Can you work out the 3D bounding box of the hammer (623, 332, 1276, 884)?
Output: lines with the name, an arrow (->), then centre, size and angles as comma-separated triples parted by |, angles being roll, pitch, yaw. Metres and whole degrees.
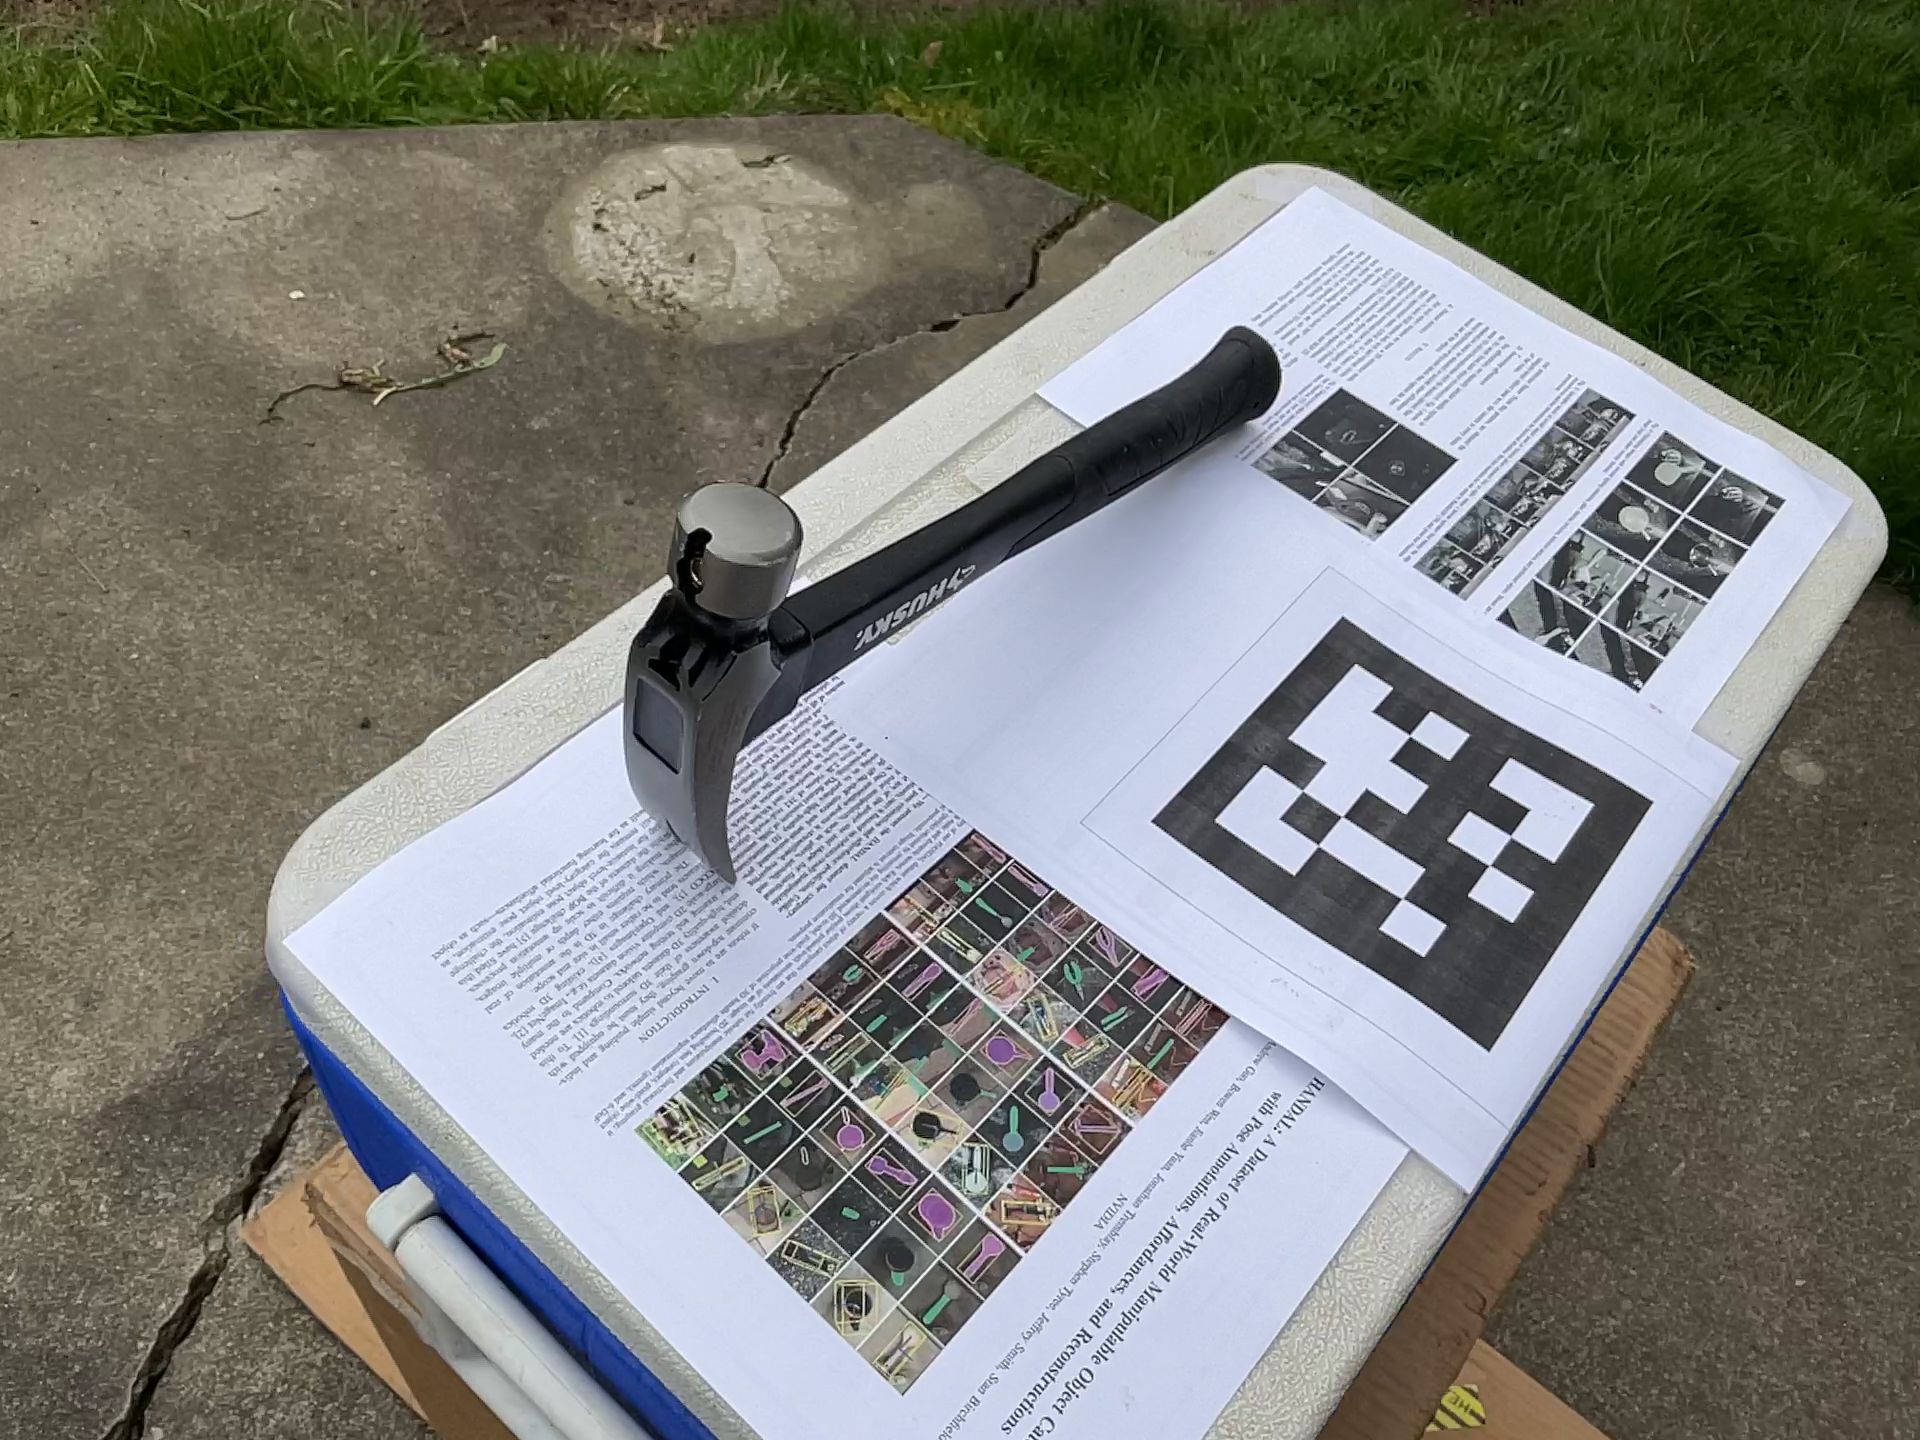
hammer -> 0.016, -0.065, 0.550 | 0.035, 0.146, 0.334 | 39, 45, 17
